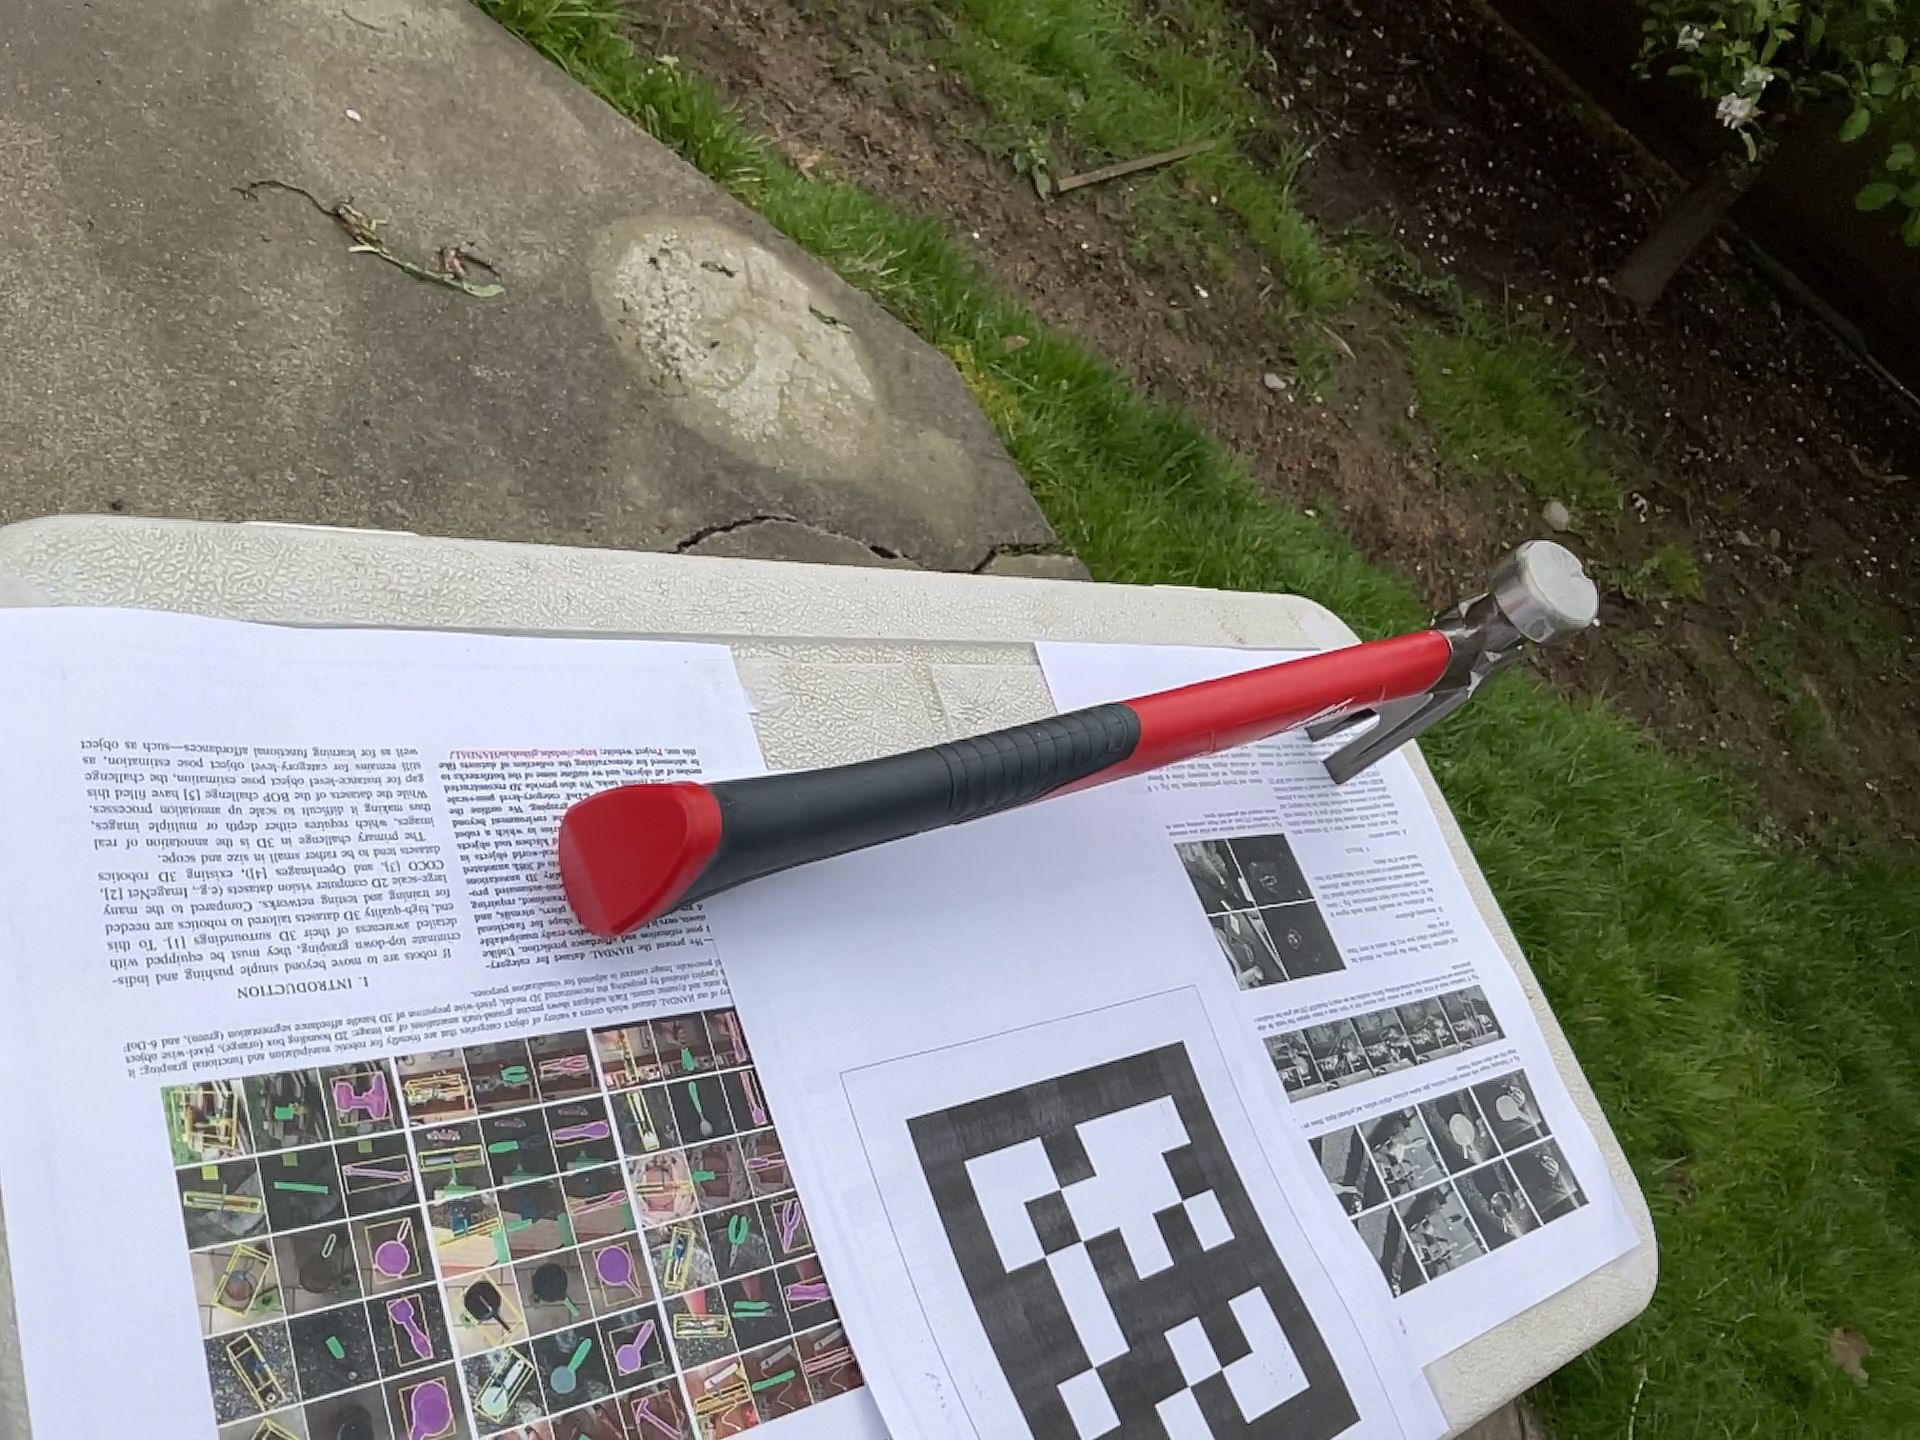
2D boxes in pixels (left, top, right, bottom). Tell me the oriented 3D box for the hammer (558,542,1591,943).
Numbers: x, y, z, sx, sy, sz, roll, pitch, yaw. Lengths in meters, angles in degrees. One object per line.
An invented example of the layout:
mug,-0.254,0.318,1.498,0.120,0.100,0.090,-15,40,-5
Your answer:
hammer,0.047,0.014,0.533,0.386,0.143,0.038,-13,69,-36
